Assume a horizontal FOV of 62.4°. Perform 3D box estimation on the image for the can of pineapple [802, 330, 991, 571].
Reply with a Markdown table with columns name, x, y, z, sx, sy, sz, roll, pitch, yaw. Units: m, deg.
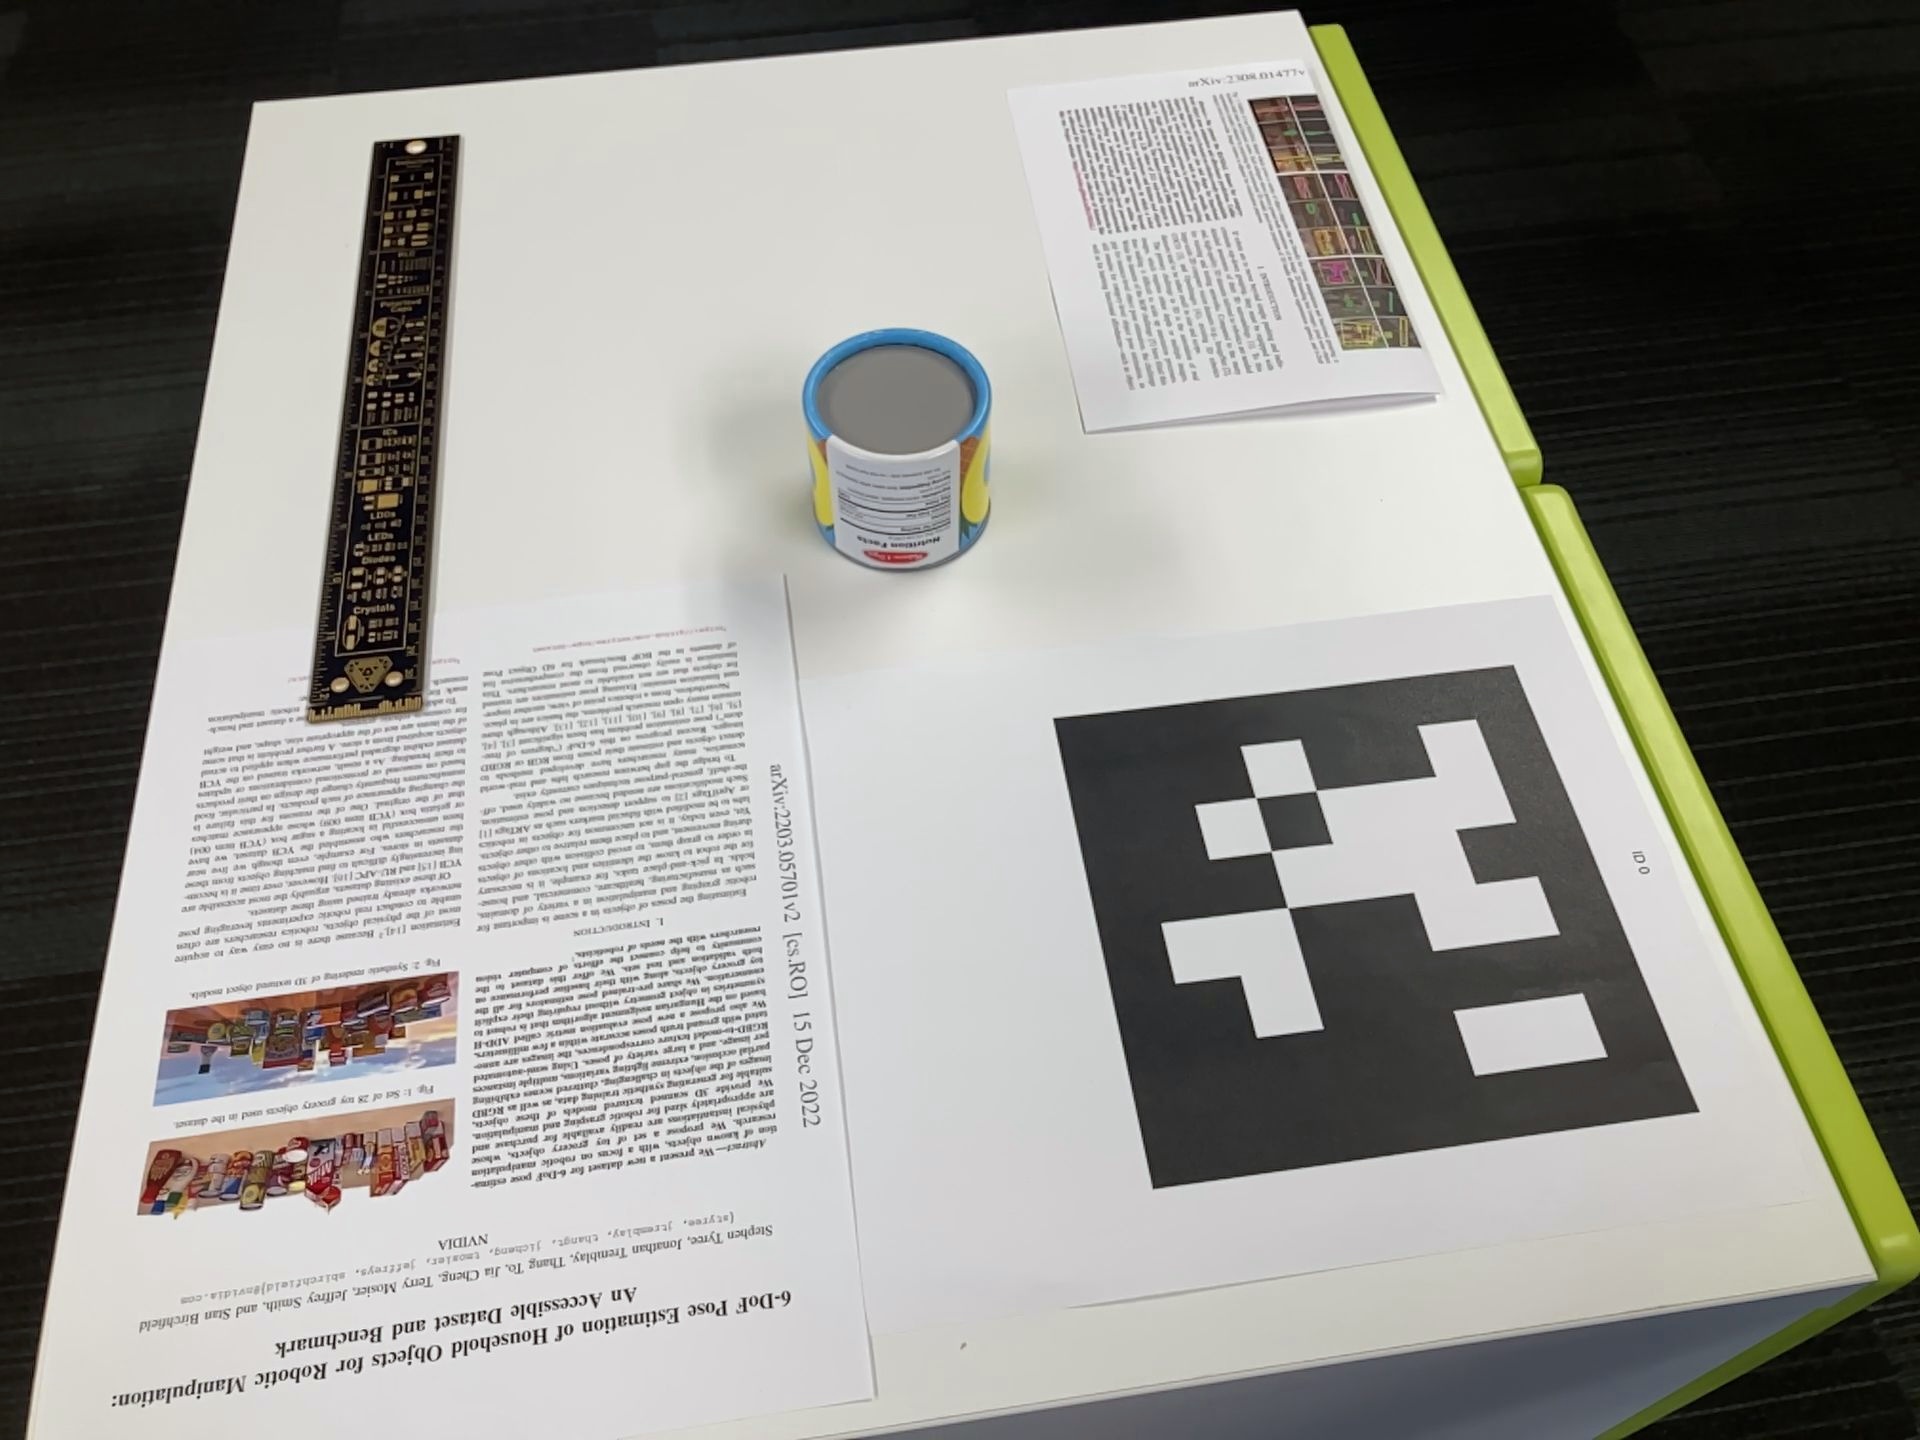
| name | x | y | z | sx | sy | sz | roll | pitch | yaw |
| --- | --- | --- | --- | --- | --- | --- | --- | --- | --- |
| can of pineapple | -0.022 | -0.099 | 0.572 | 0.071 | 0.058 | 0.071 | 0 | 56 | 0 |
